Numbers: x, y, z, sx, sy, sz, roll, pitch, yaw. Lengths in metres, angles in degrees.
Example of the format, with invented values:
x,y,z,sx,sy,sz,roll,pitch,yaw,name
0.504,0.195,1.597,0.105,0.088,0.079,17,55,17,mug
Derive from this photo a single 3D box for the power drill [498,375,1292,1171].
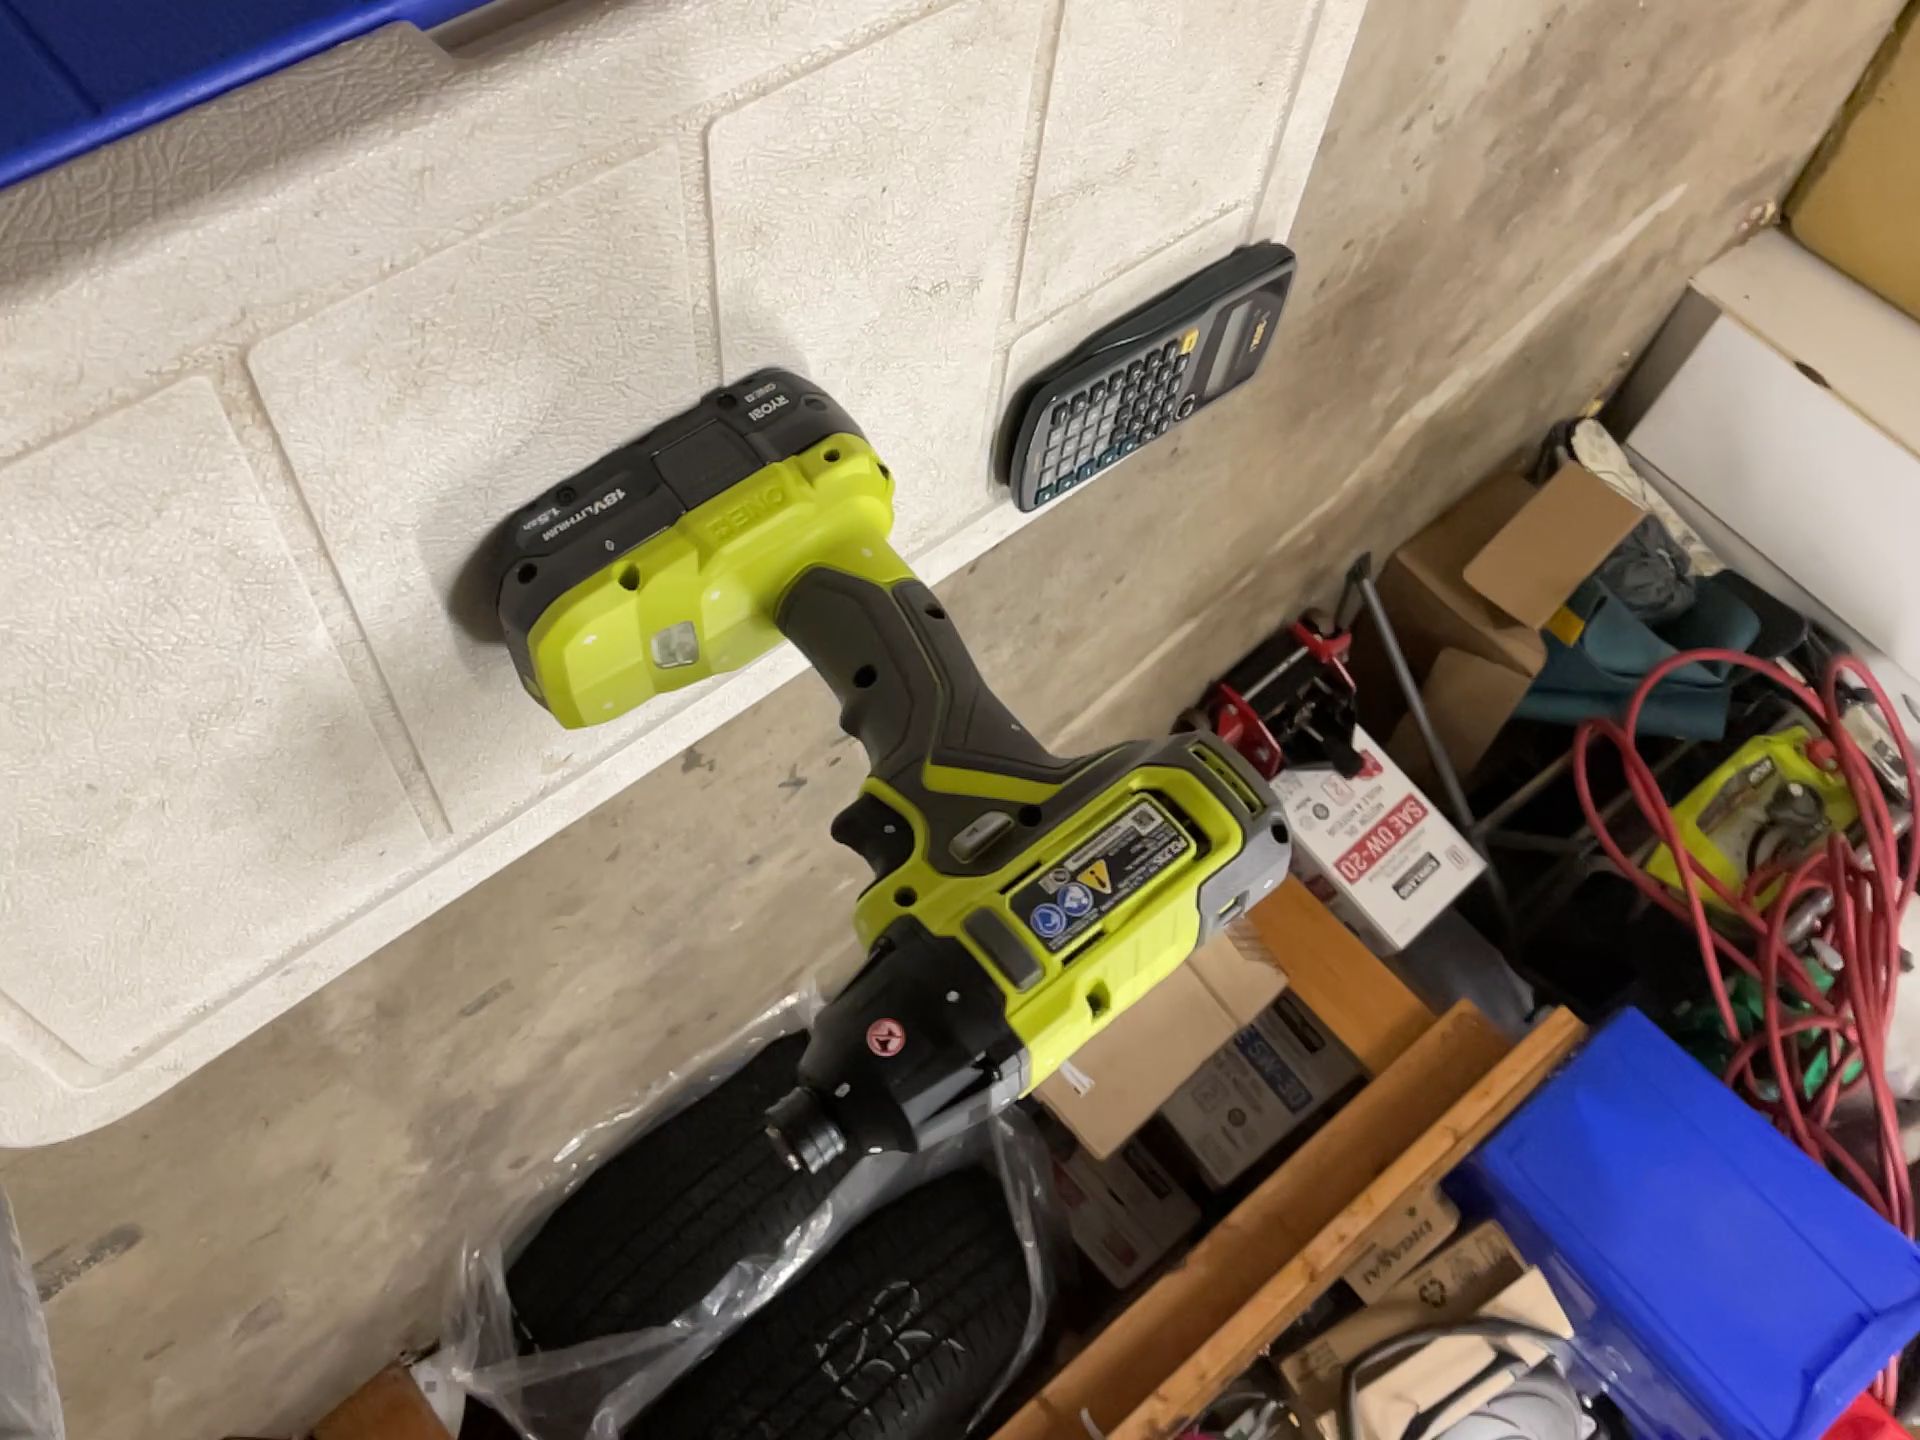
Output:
x,y,z,sx,sy,sz,roll,pitch,yaw,name
-0.035,0.011,0.488,0.171,0.223,0.080,-35,158,-20,power drill
